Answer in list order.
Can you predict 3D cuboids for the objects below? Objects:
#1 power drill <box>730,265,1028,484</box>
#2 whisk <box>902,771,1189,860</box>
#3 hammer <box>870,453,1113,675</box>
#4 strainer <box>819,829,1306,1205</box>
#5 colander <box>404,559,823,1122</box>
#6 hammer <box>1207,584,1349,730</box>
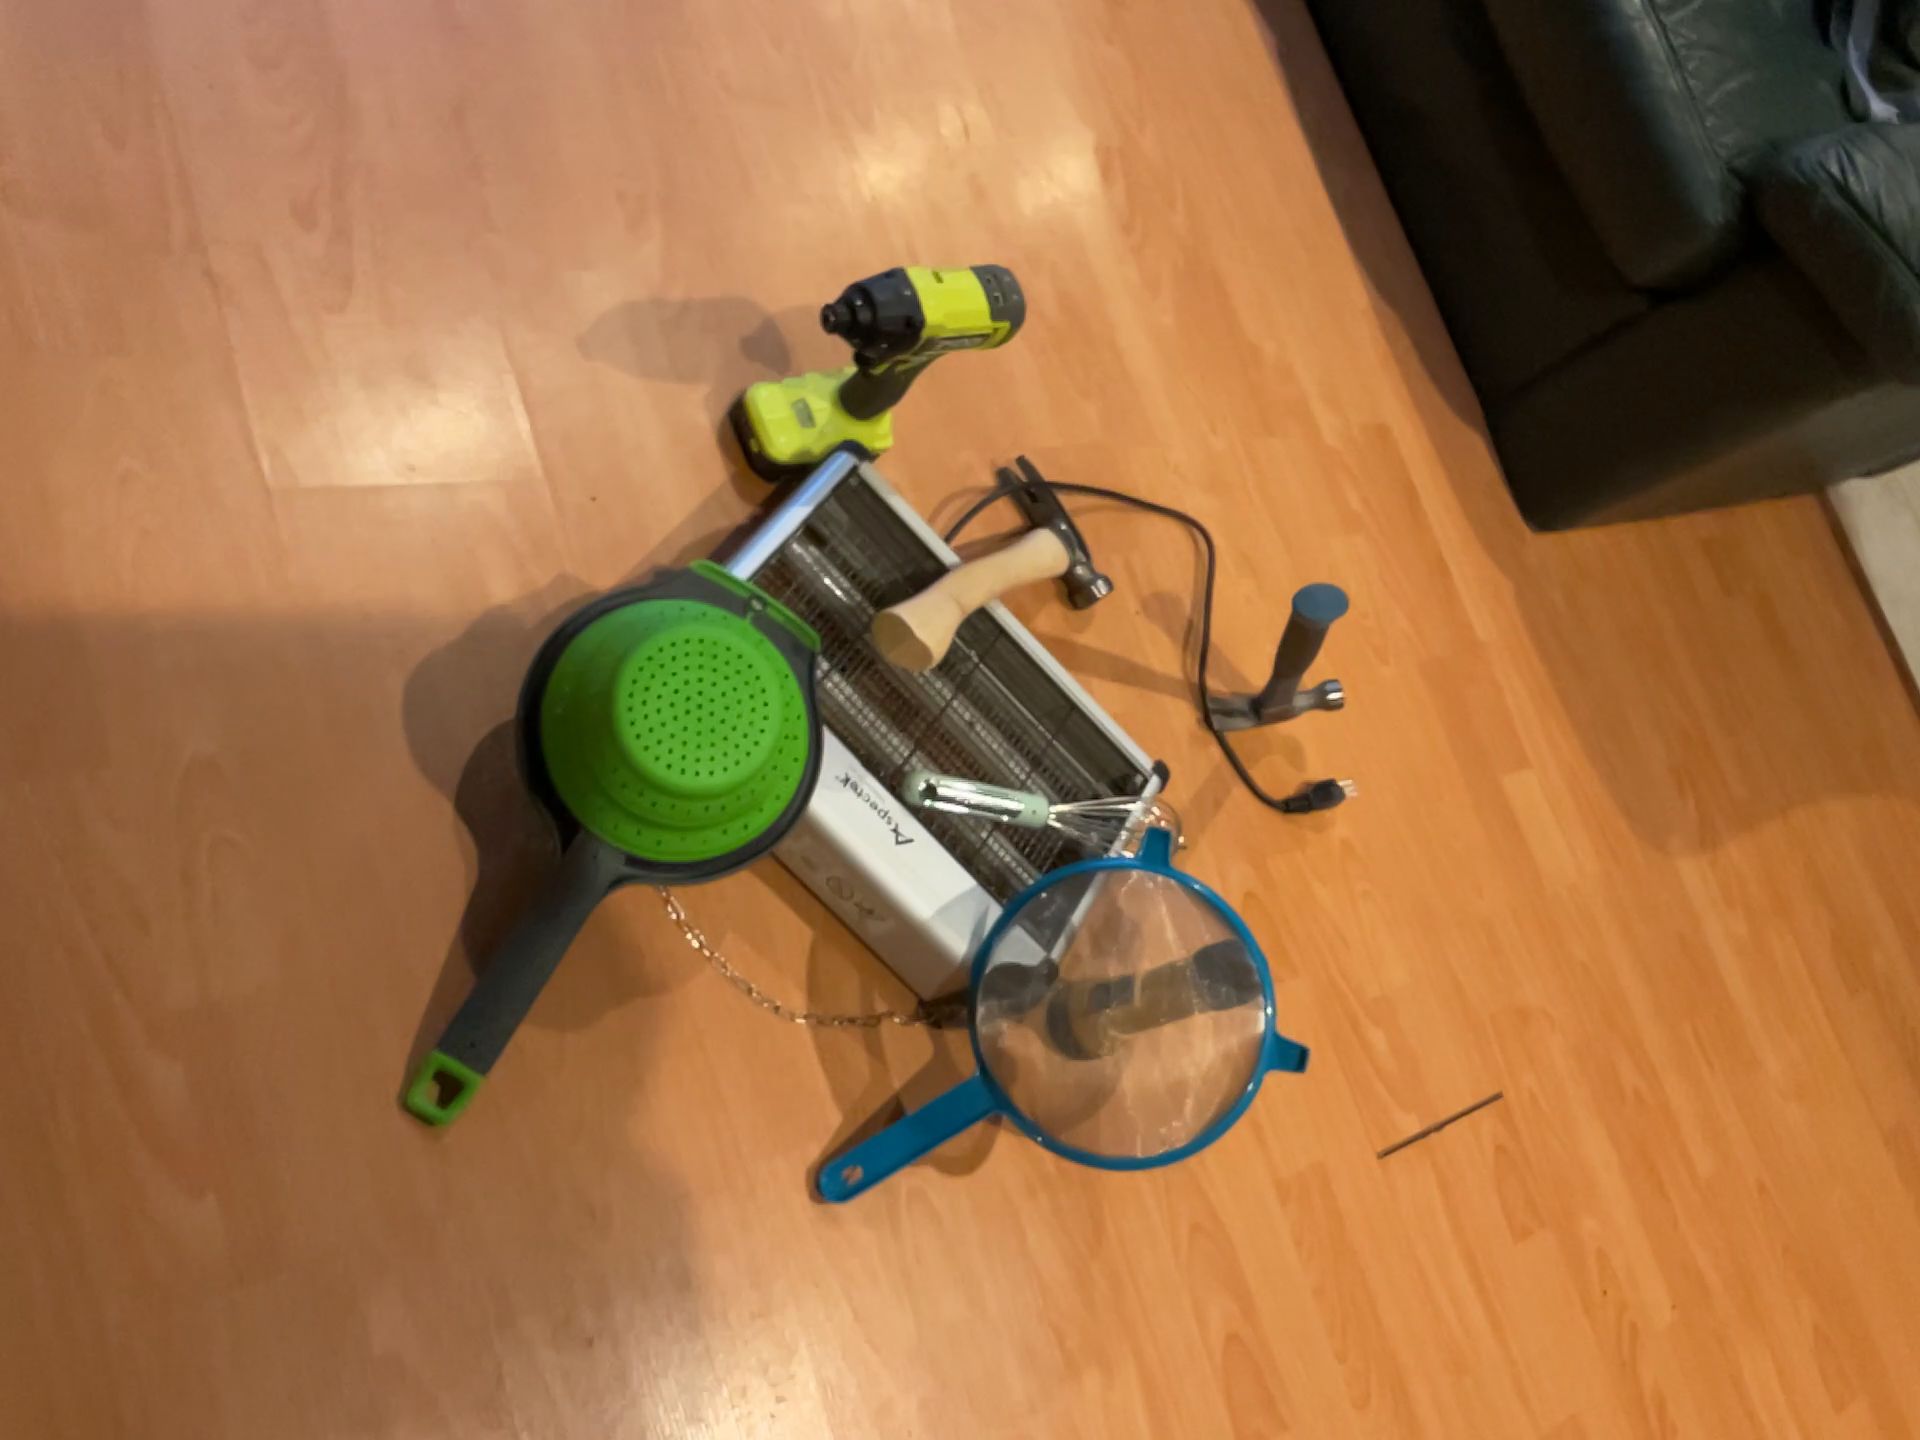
[{"bbox_3d":[-0.075,-0.267,1.223,0.171,0.223,0.080,-16,80,-40],"label":"power drill"},{"bbox_3d":[0.067,0.071,1.187,0.246,0.059,0.057,13,92,-28],"label":"whisk"},{"bbox_3d":[0.019,-0.117,1.247,0.146,0.038,0.411,57,25,-2],"label":"hammer"},{"bbox_3d":[0.052,0.225,1.064,0.340,0.095,0.211,-30,77,-6],"label":"strainer"},{"bbox_3d":[-0.214,0.067,0.995,0.204,0.094,0.397,34,70,-11],"label":"colander"},{"bbox_3d":[0.281,-0.048,1.350,0.128,0.331,0.033,-14,75,1],"label":"hammer"}]
